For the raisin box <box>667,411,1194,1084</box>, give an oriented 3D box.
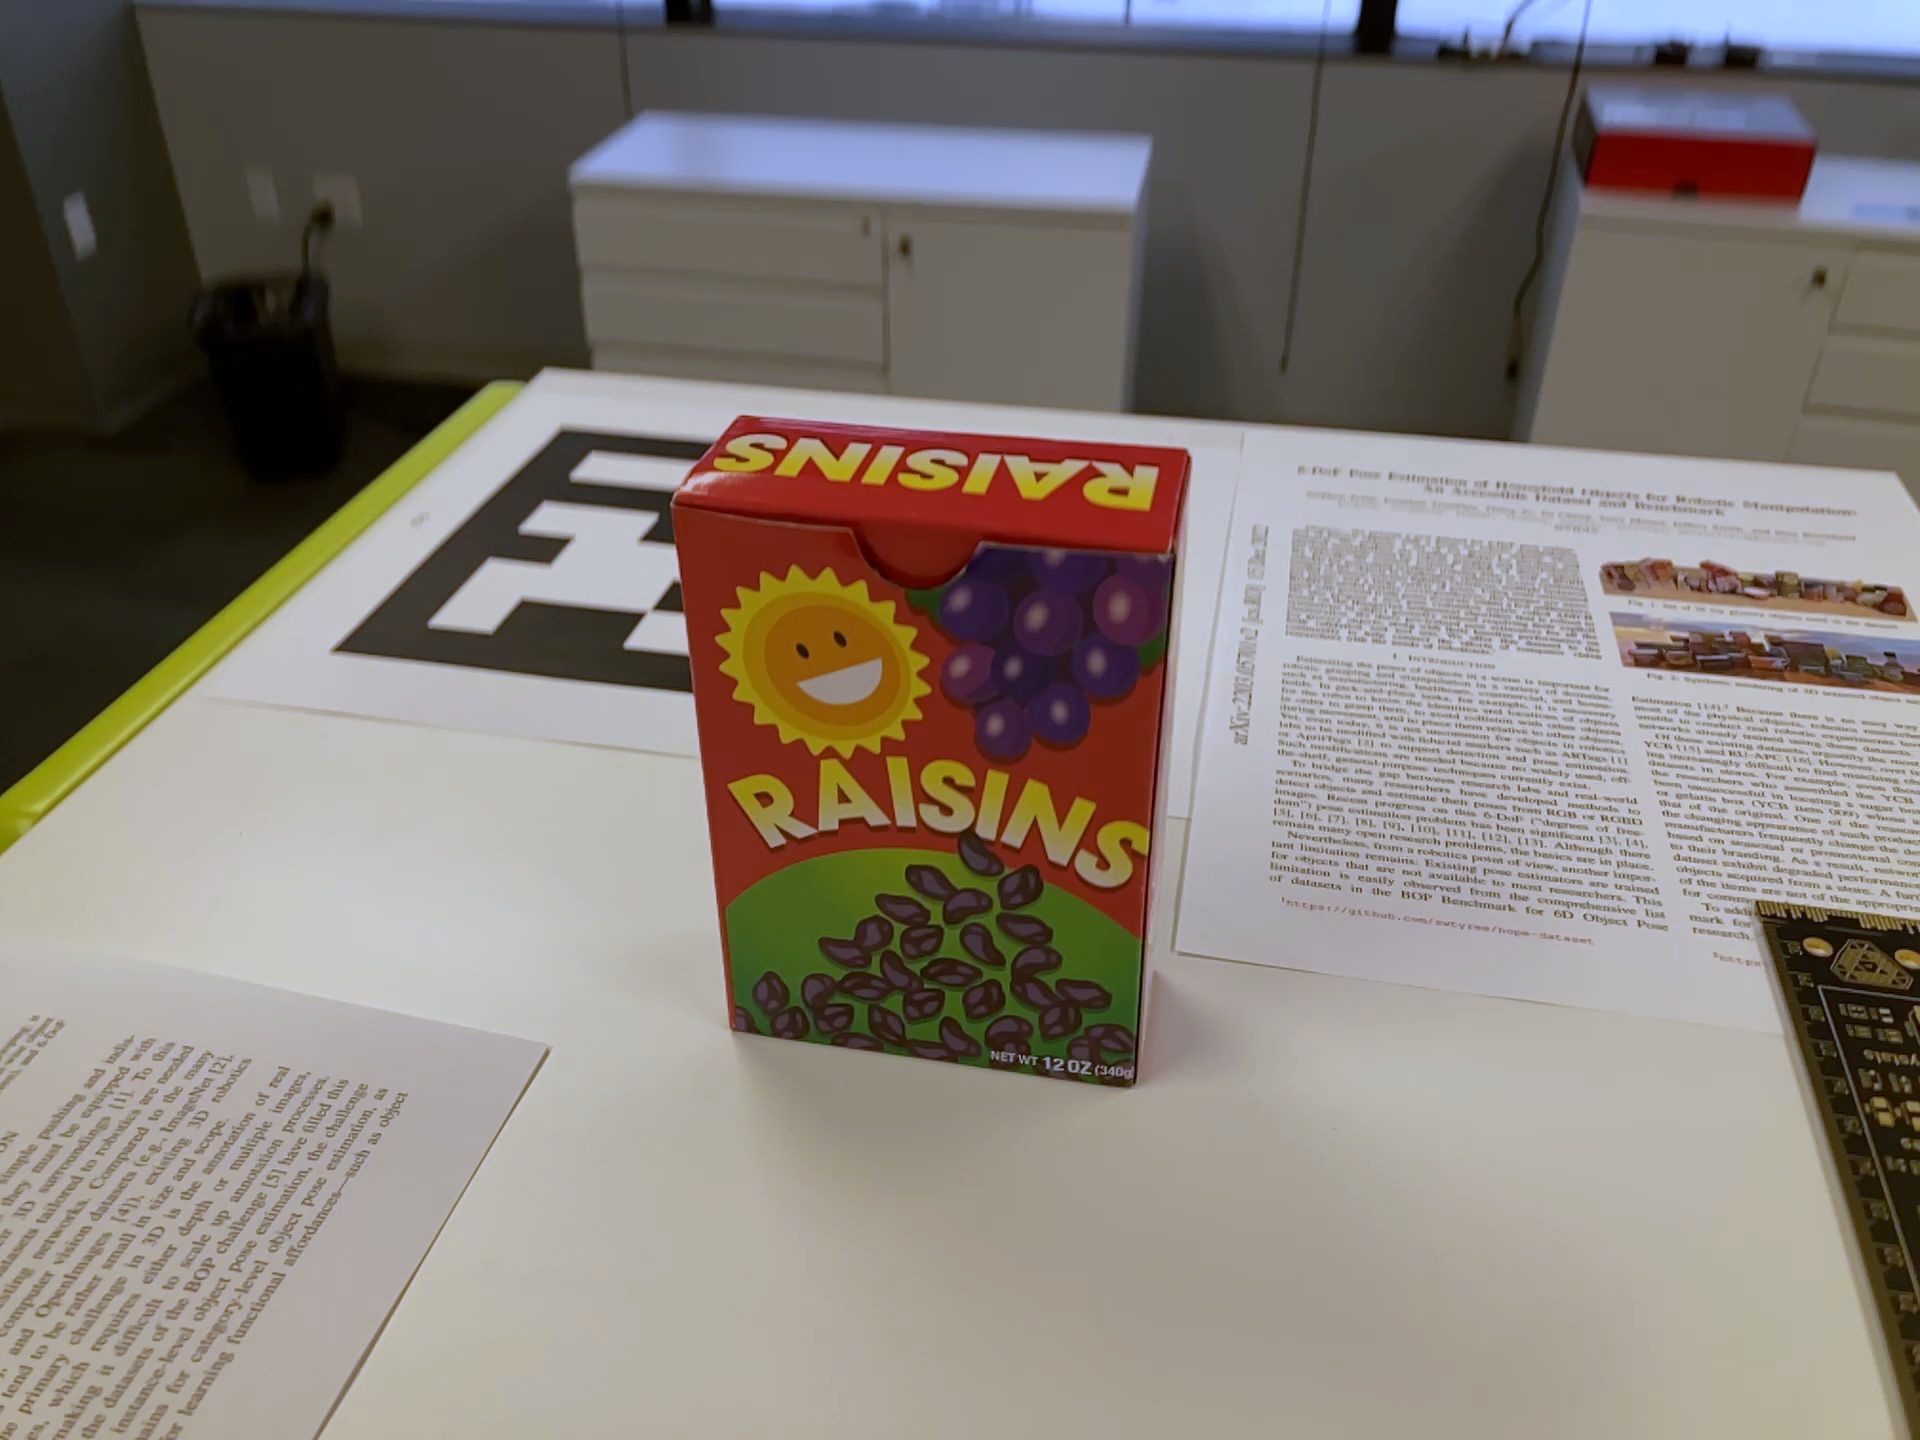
[{"bbox_3d":[-0.004,0.008,0.301,0.086,0.123,0.040,7,35,11],"label":"raisin box"}]
